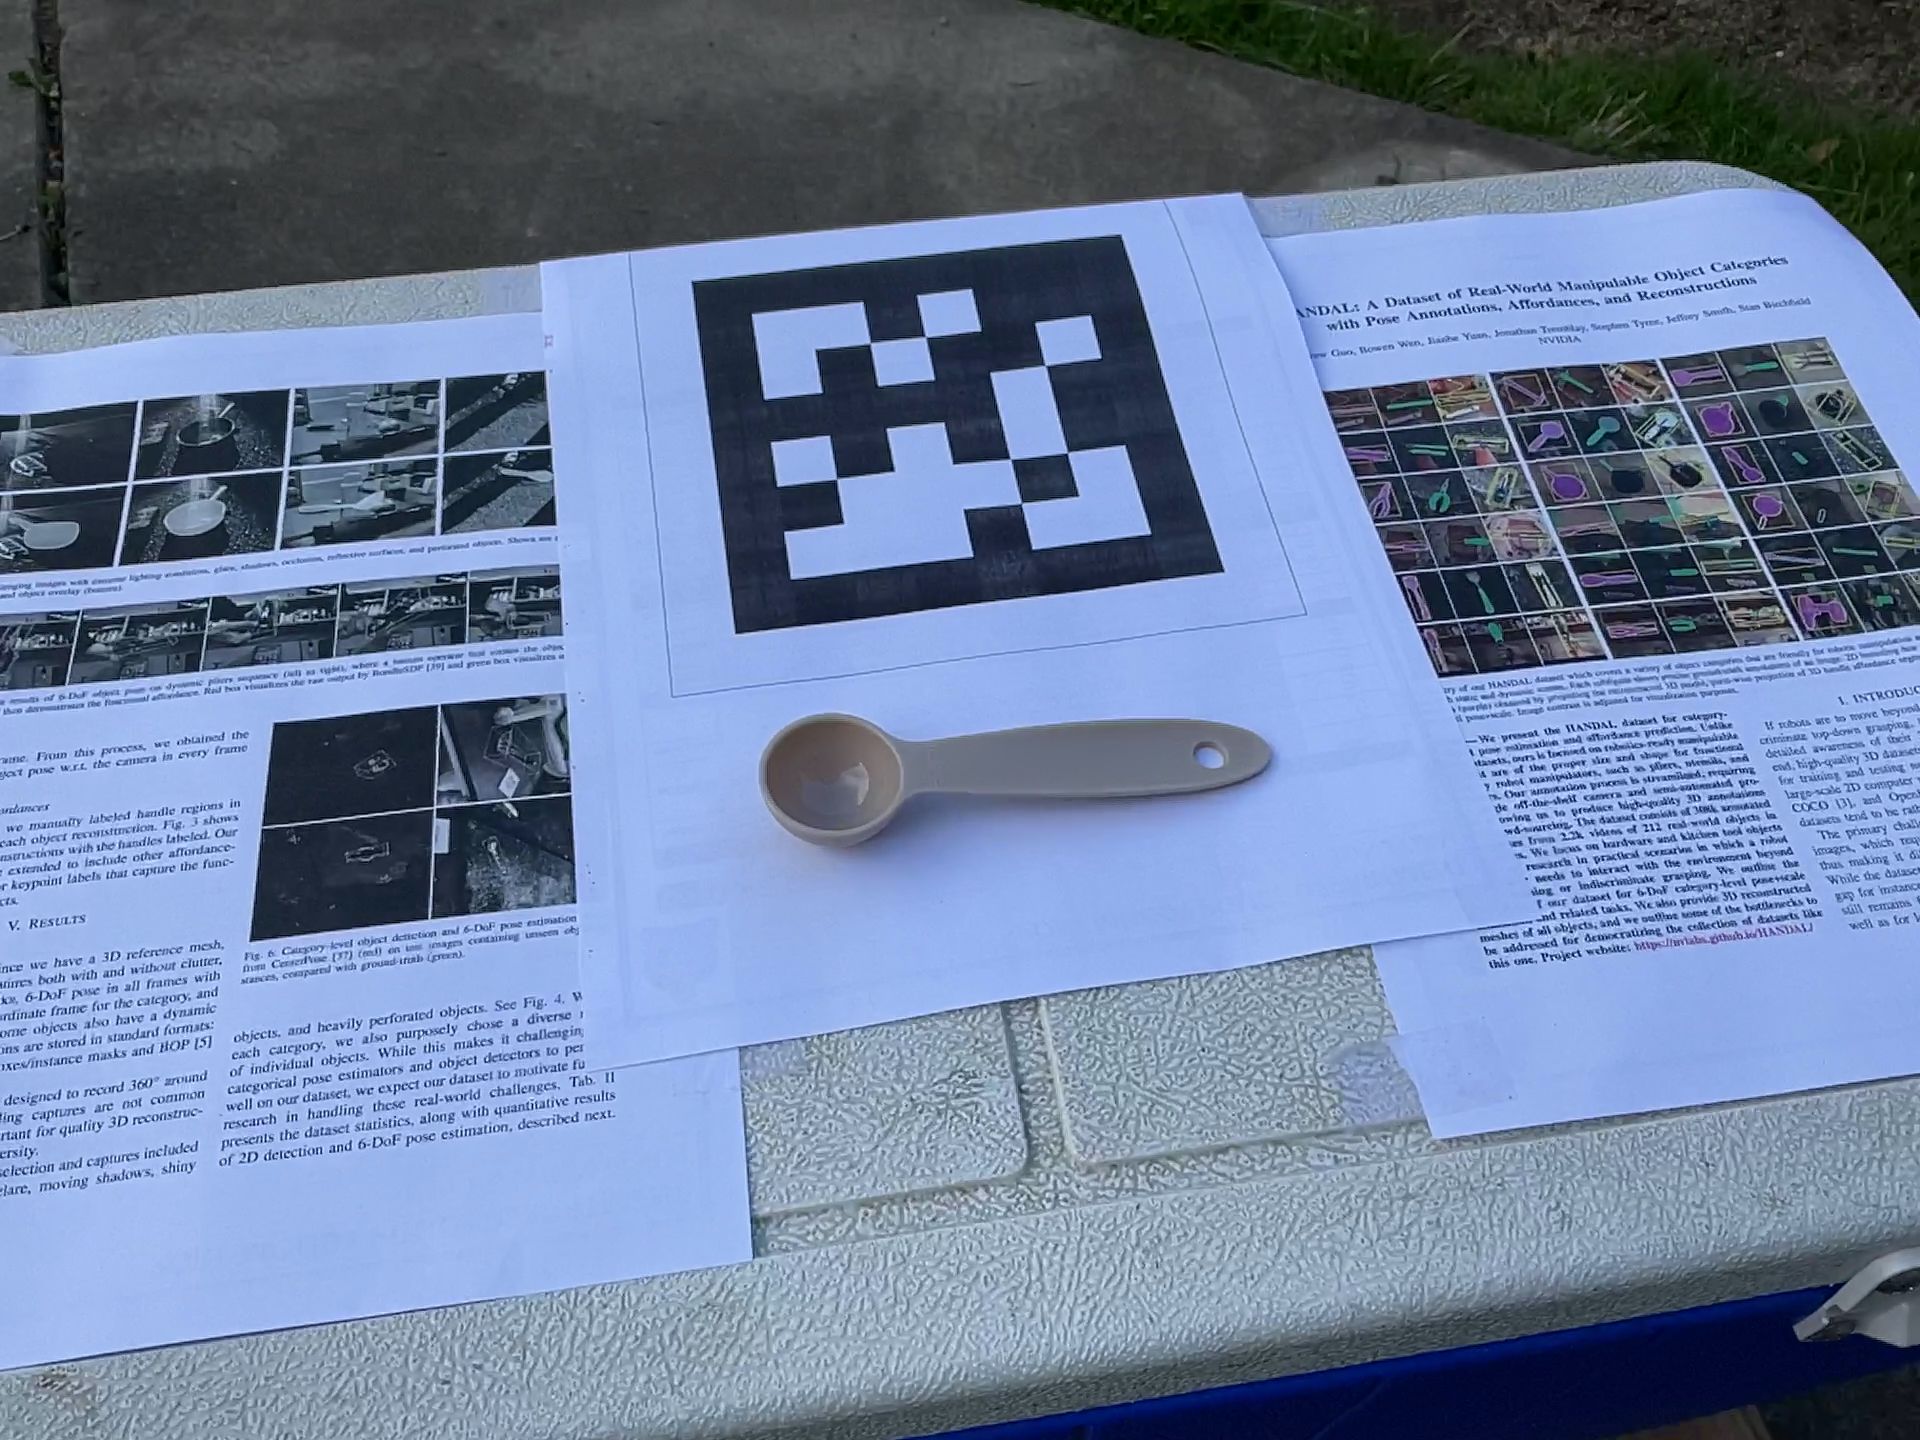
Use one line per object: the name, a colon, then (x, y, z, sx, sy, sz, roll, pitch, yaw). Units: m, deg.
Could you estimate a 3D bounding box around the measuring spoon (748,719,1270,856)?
measuring spoon: (0.012, 0.015, 0.375, 0.124, 0.018, 0.034, -3, 55, -12)
